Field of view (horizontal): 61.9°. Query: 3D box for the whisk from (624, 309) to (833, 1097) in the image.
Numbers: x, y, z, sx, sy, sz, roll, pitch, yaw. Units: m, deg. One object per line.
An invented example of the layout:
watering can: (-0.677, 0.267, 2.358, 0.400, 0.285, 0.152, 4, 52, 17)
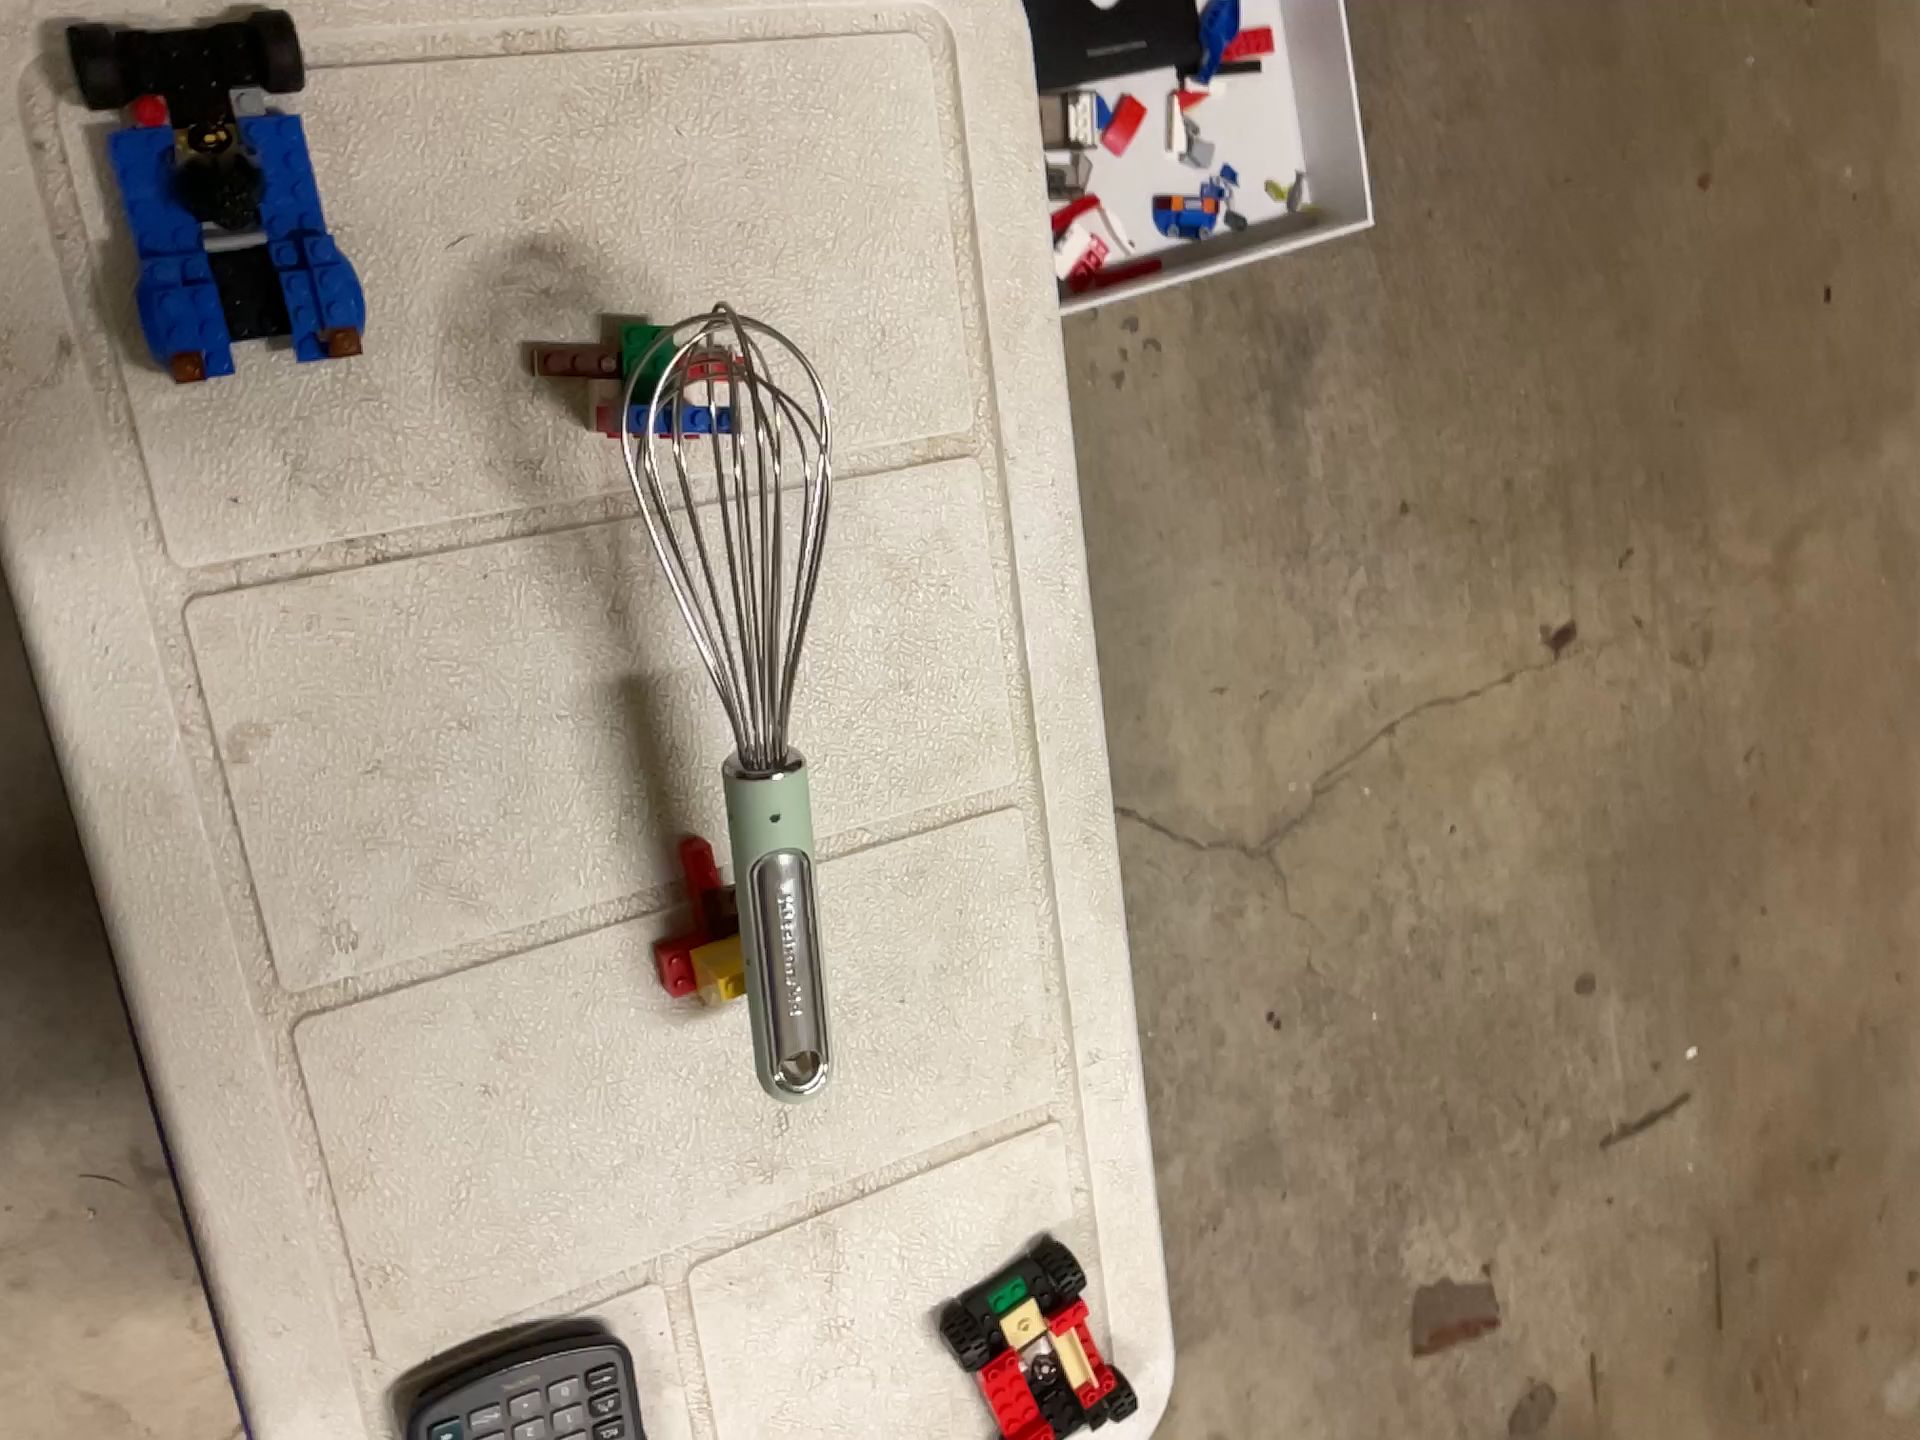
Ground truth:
whisk: (-0.059, 0.005, 0.472, 0.058, 0.059, 0.246, -10, 112, -19)
